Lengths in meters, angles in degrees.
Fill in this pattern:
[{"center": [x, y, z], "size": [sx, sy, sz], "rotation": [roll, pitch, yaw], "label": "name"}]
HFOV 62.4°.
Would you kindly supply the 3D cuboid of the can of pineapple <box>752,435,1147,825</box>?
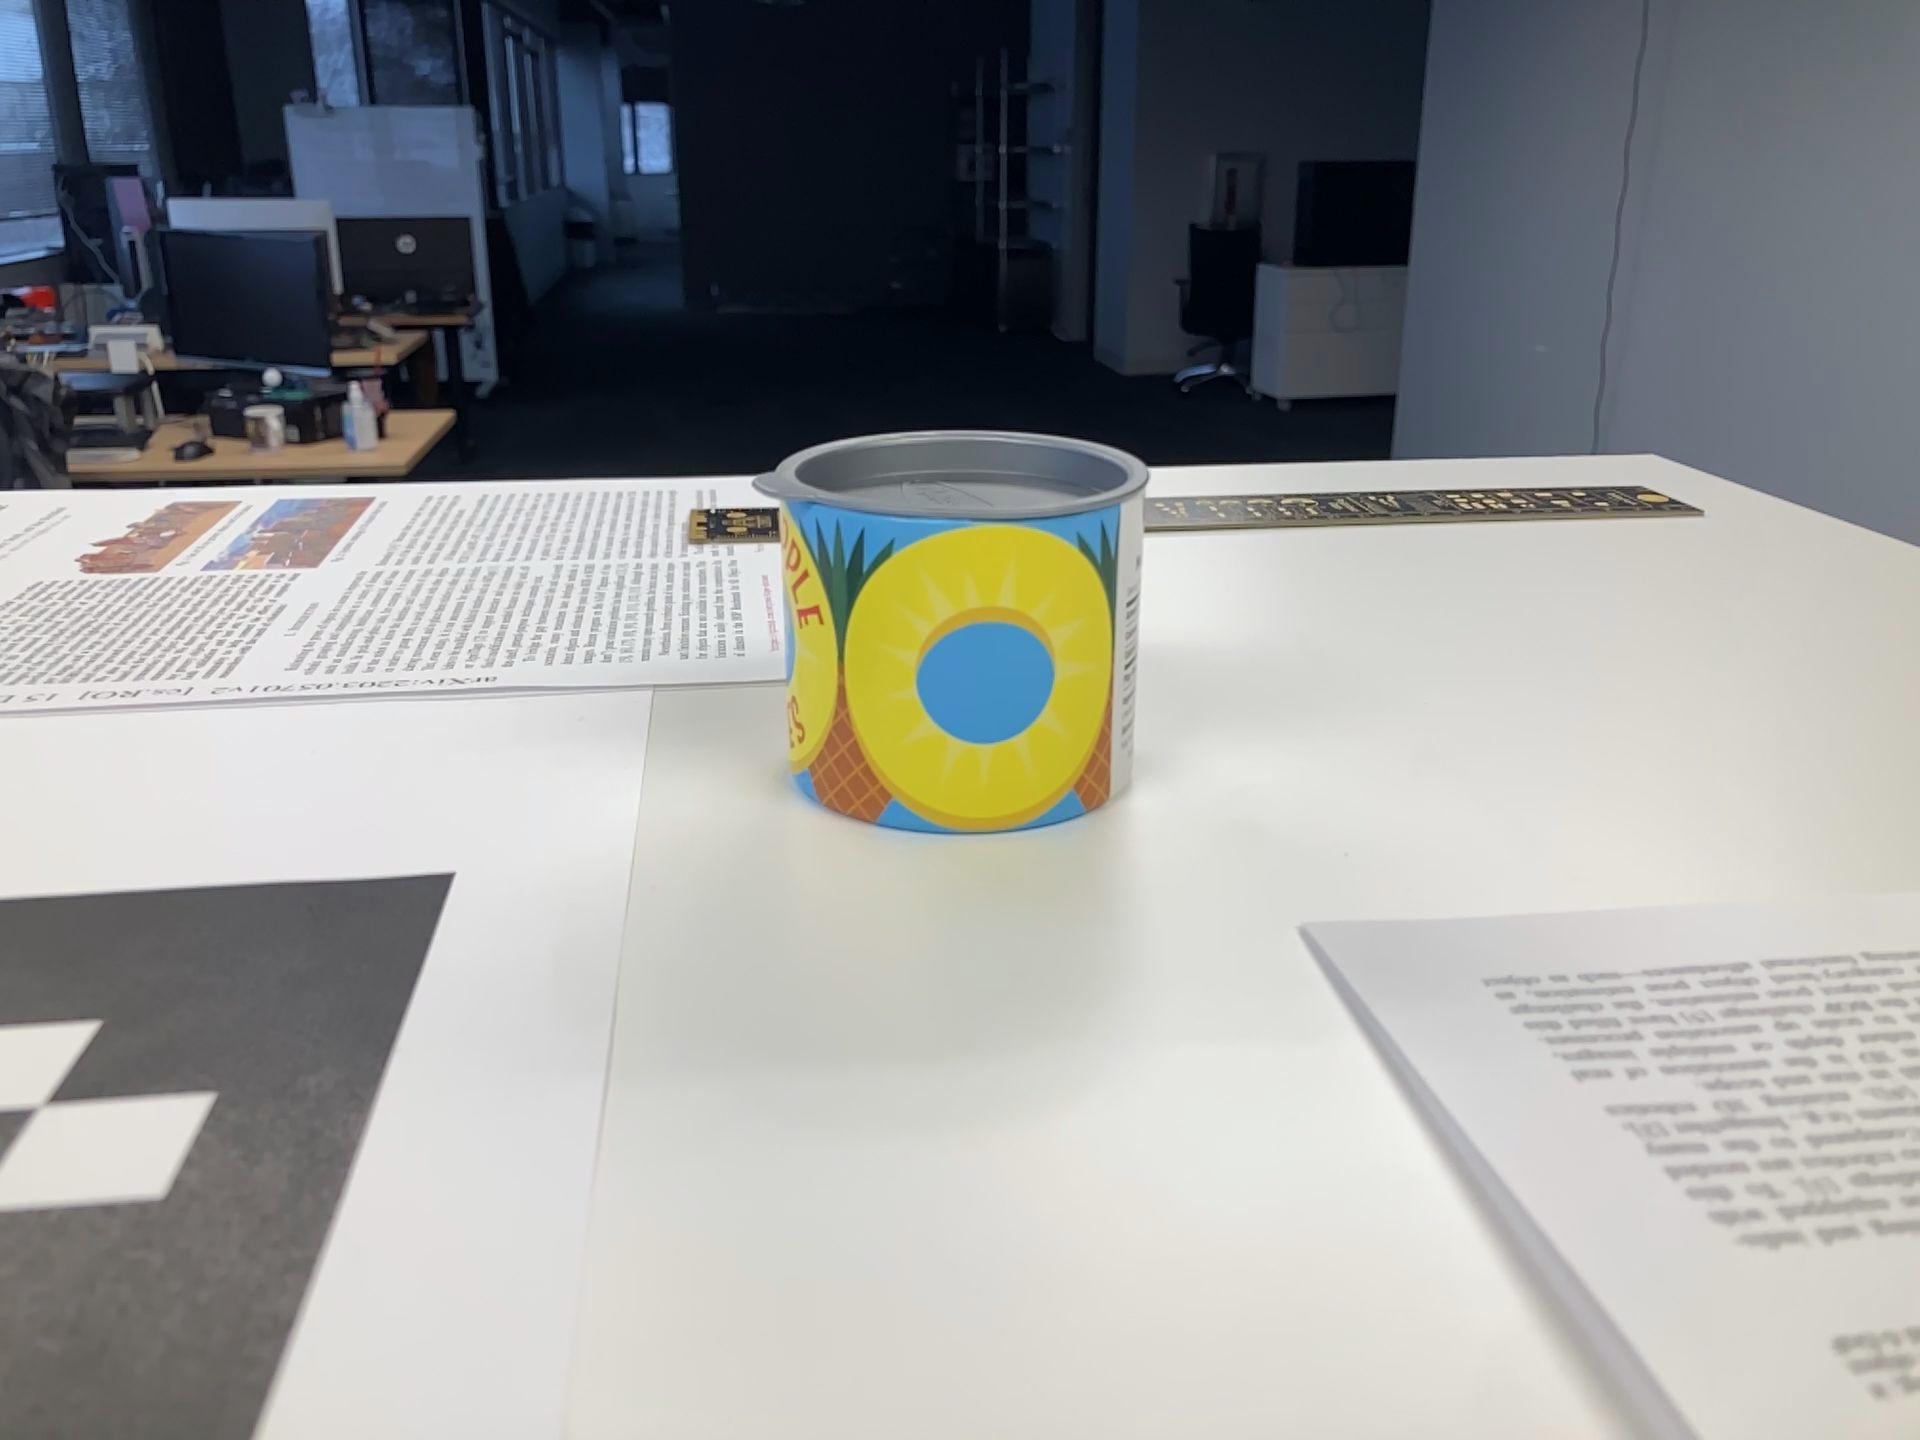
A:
[{"center": [-0.002, -0.019, 0.292], "size": [0.071, 0.058, 0.071], "rotation": [0, 19, 0], "label": "can of pineapple"}]
